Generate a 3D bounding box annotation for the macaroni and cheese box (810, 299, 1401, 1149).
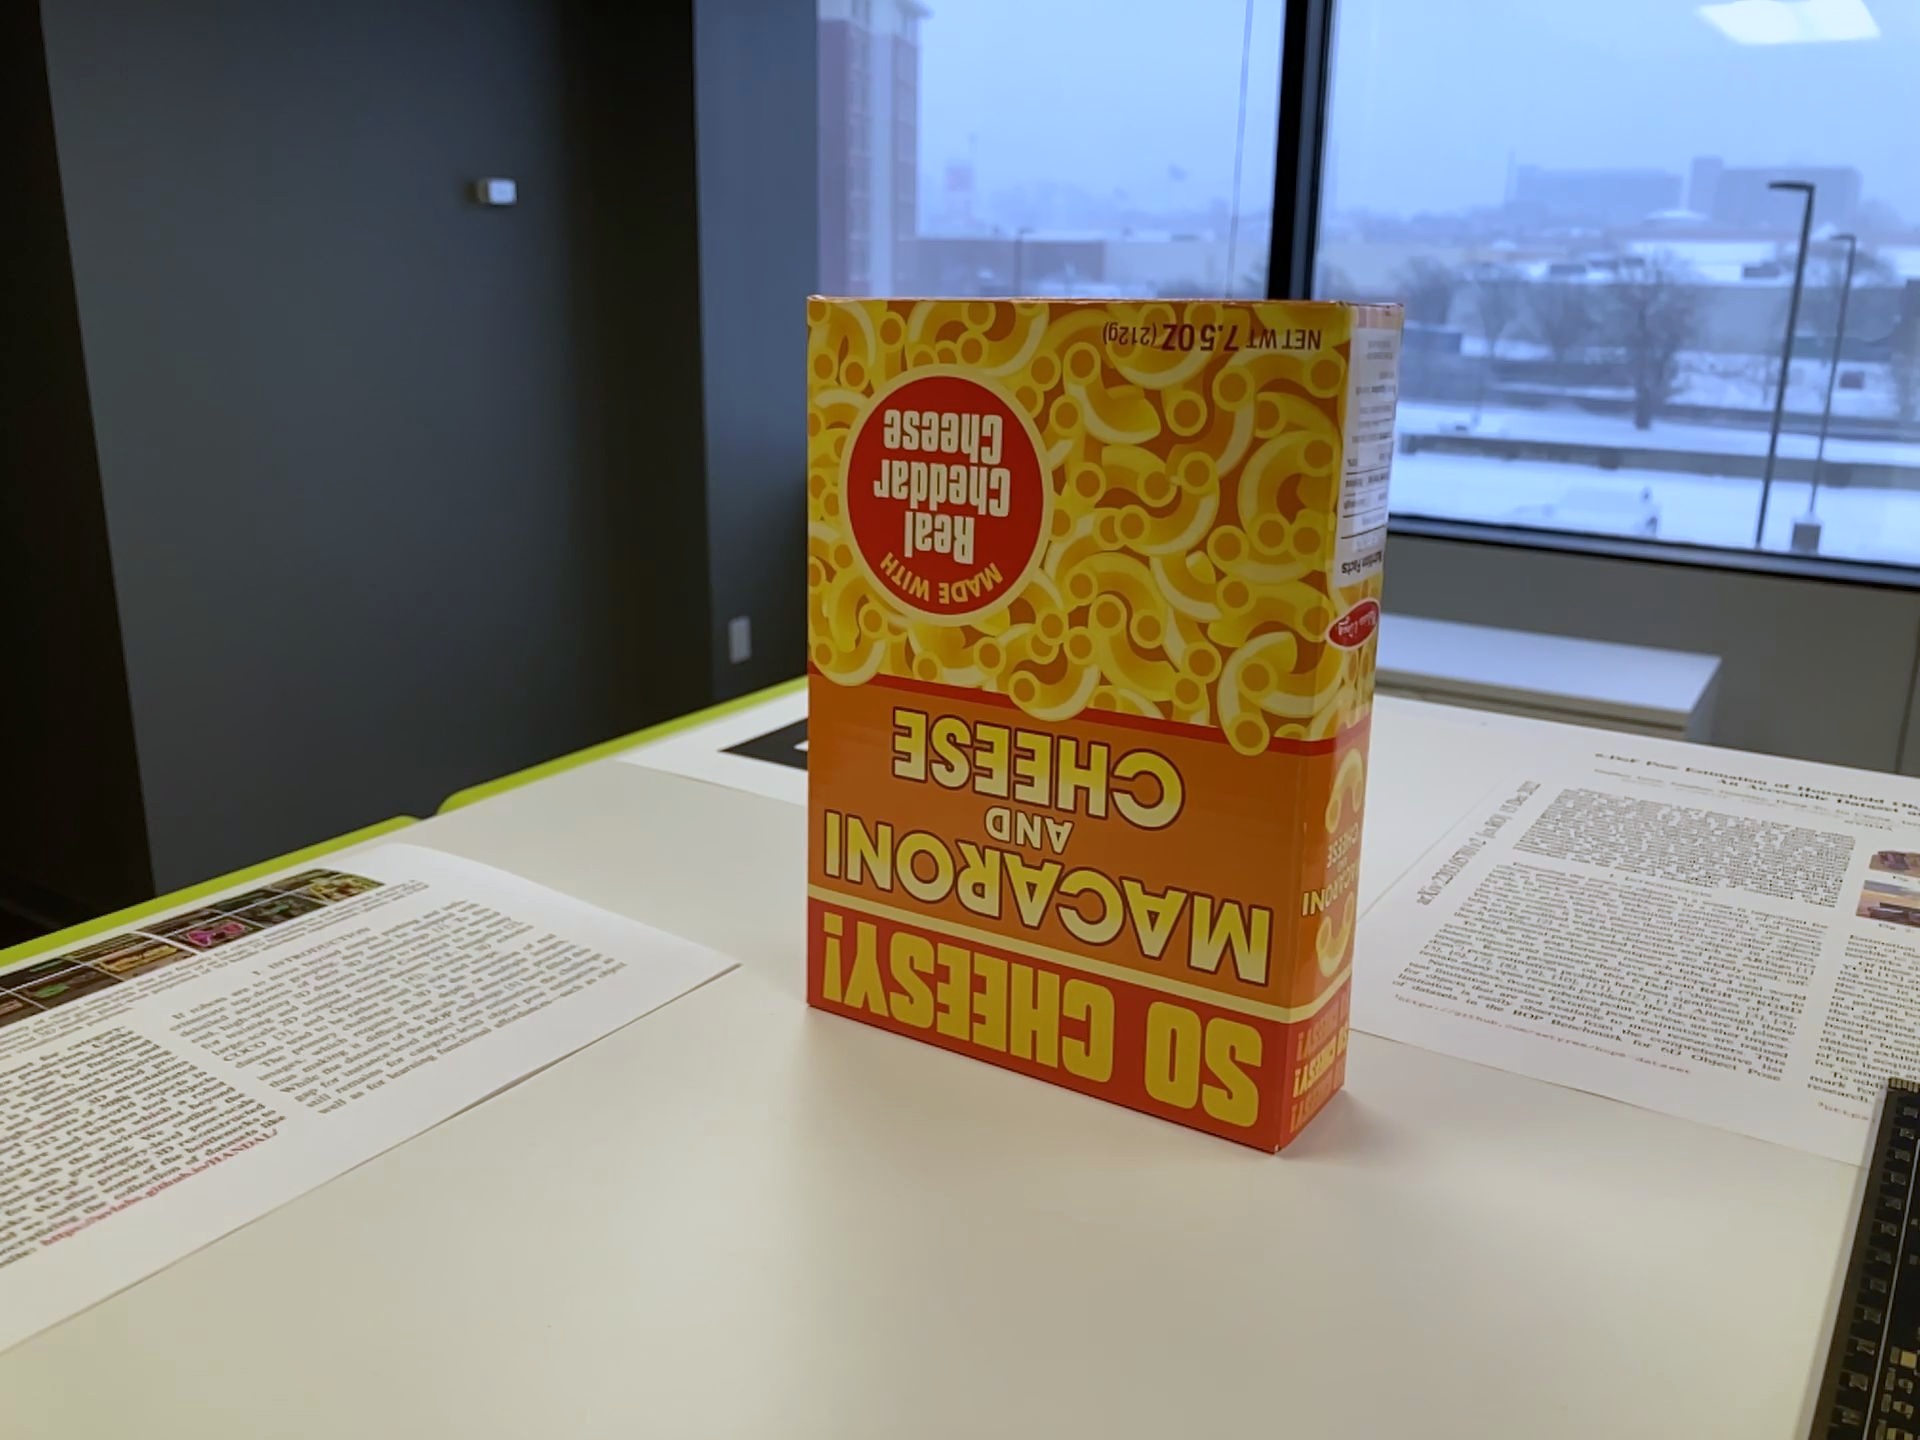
[{"bbox_3d":[0.026,-0.005,0.349,0.124,0.166,0.040,9,14,33],"label":"macaroni and cheese box"}]
